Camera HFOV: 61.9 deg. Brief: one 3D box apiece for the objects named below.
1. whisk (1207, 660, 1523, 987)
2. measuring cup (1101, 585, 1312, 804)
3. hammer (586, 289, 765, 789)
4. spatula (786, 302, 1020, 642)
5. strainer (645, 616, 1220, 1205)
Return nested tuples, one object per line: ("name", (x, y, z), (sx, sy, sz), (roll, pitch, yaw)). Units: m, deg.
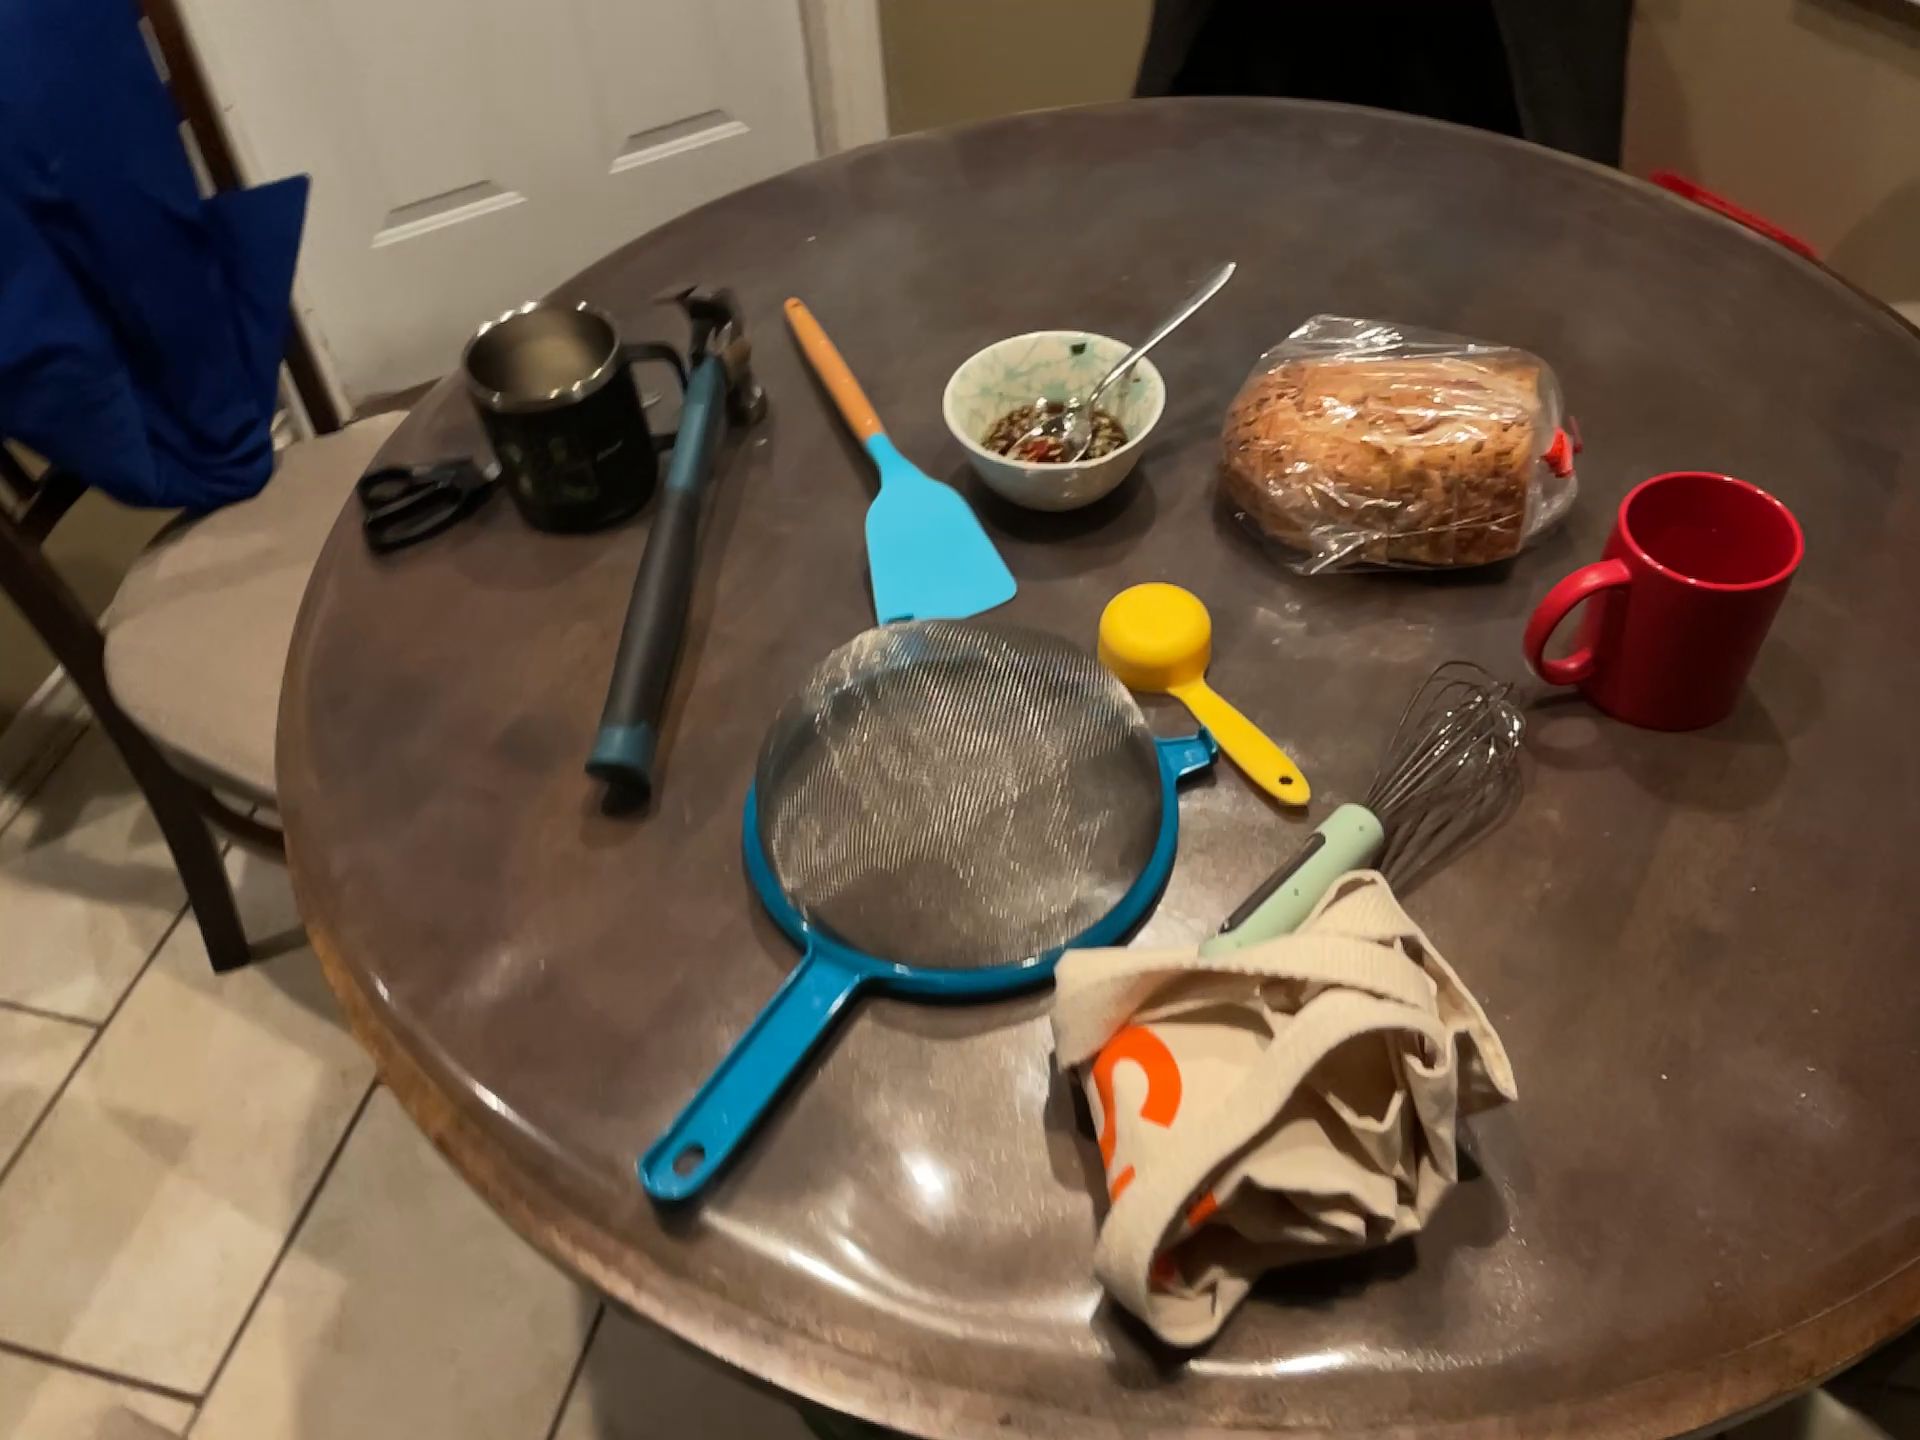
("whisk", (0.184, 0.044, 0.715), (0.246, 0.057, 0.059), (-37, 85, -36))
("measuring cup", (0.126, -0.016, 0.805), (0.062, 0.029, 0.157), (-25, 49, -17))
("hammer", (-0.155, -0.105, 0.873), (0.033, 0.128, 0.331), (0, 57, 8))
("spatula", (-0.057, -0.166, 0.965), (0.082, 0.044, 0.318), (-18, 45, -10))
("strainer", (-0.033, 0.057, 0.710), (0.211, 0.095, 0.340), (21, 49, 23))
